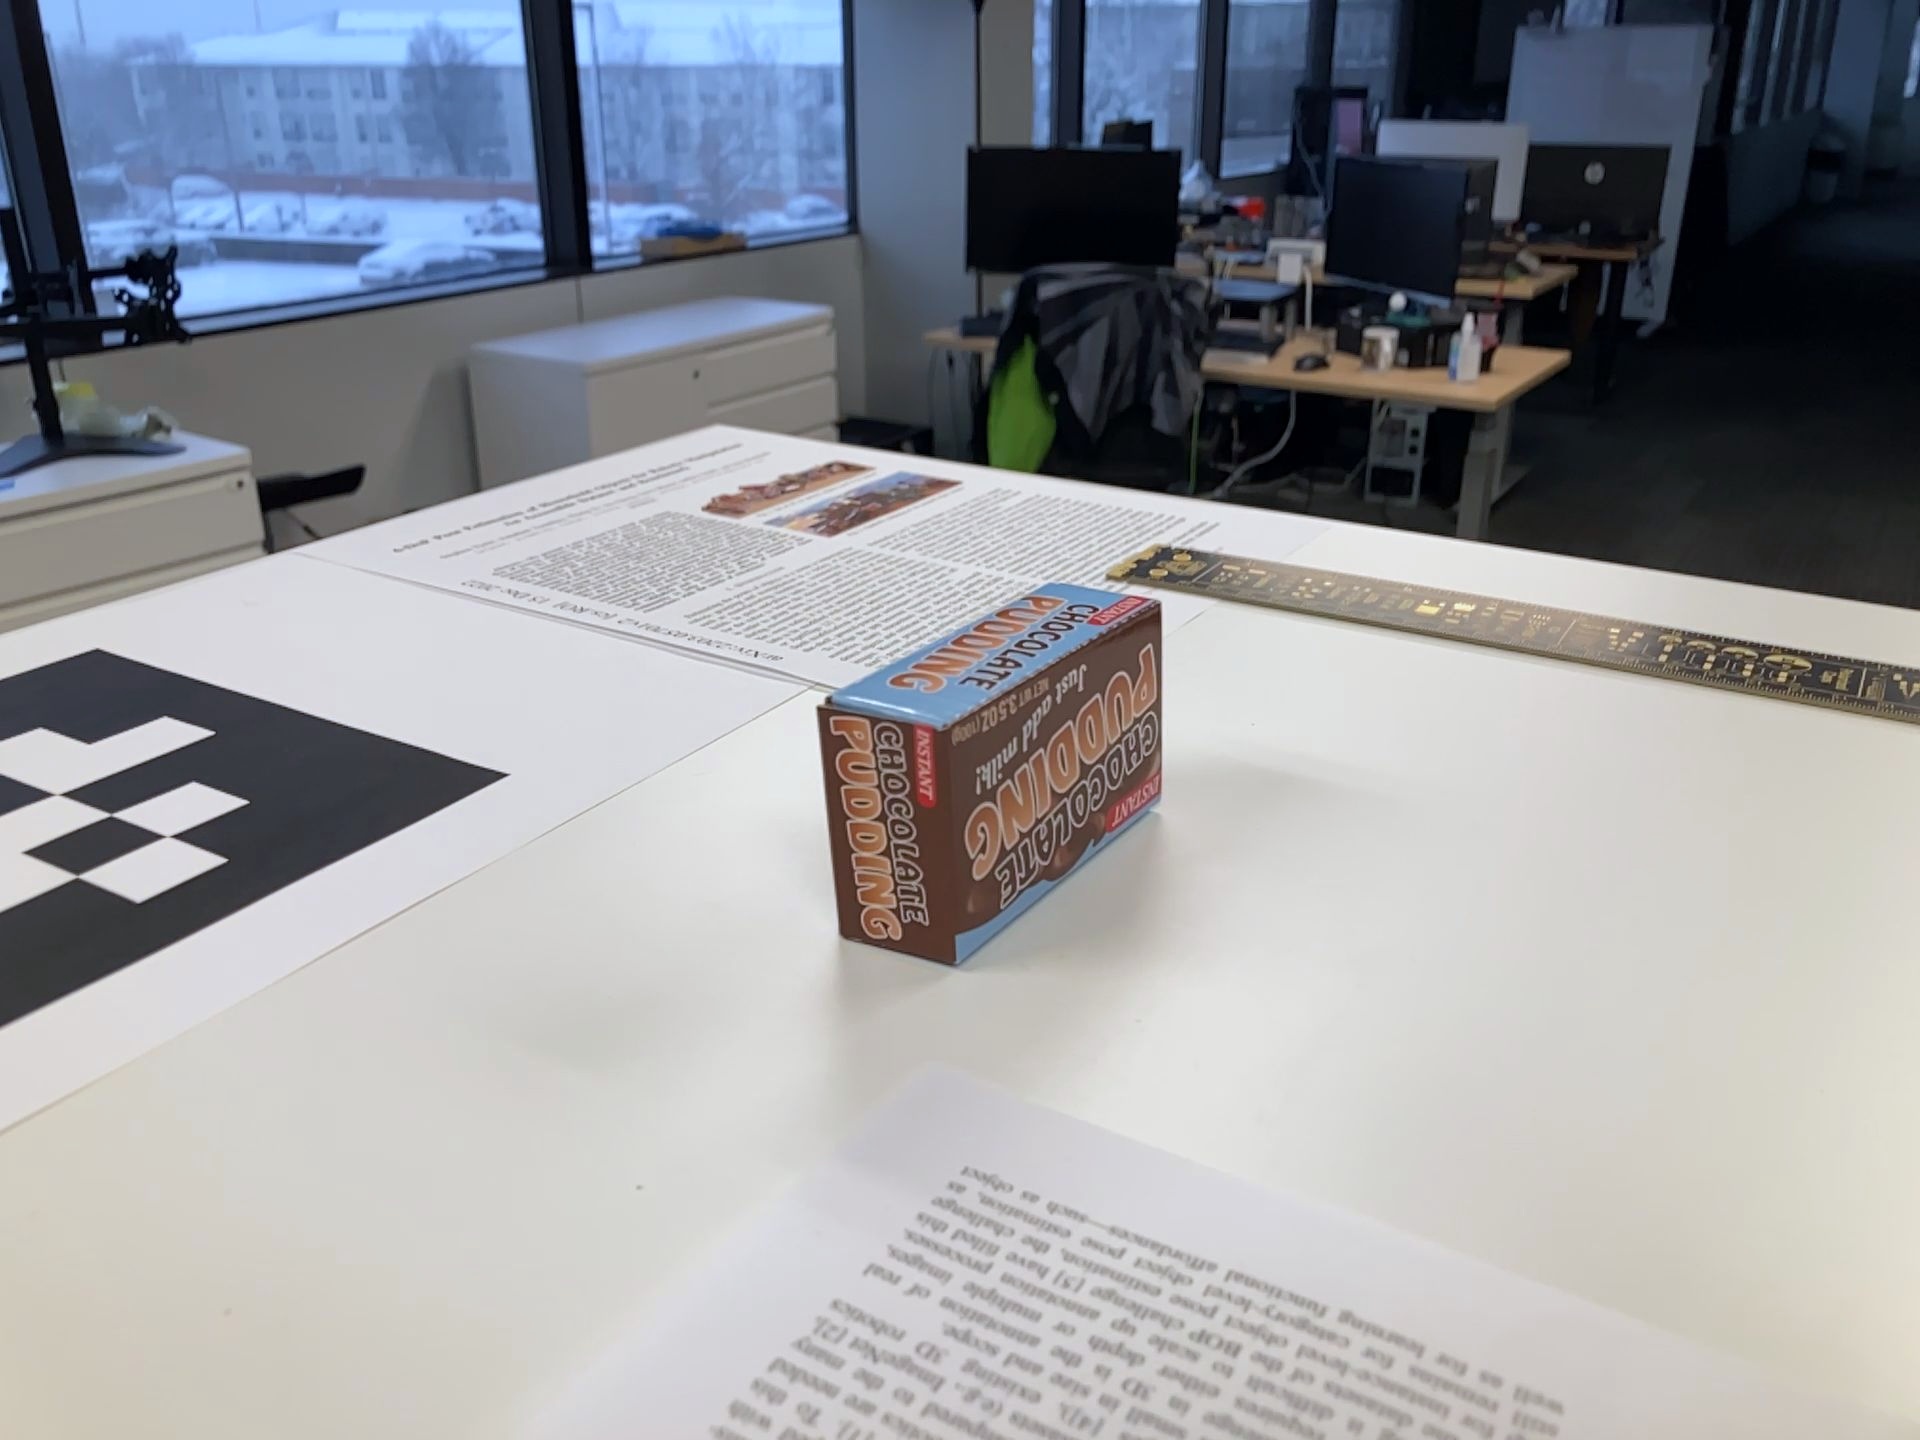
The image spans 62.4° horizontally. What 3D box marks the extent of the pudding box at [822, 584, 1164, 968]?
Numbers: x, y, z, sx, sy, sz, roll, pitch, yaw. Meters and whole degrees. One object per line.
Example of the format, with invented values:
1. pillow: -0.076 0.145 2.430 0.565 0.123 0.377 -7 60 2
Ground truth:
1. pudding box: 0.009 0.008 0.319 0.030 0.049 0.083 12 26 32
